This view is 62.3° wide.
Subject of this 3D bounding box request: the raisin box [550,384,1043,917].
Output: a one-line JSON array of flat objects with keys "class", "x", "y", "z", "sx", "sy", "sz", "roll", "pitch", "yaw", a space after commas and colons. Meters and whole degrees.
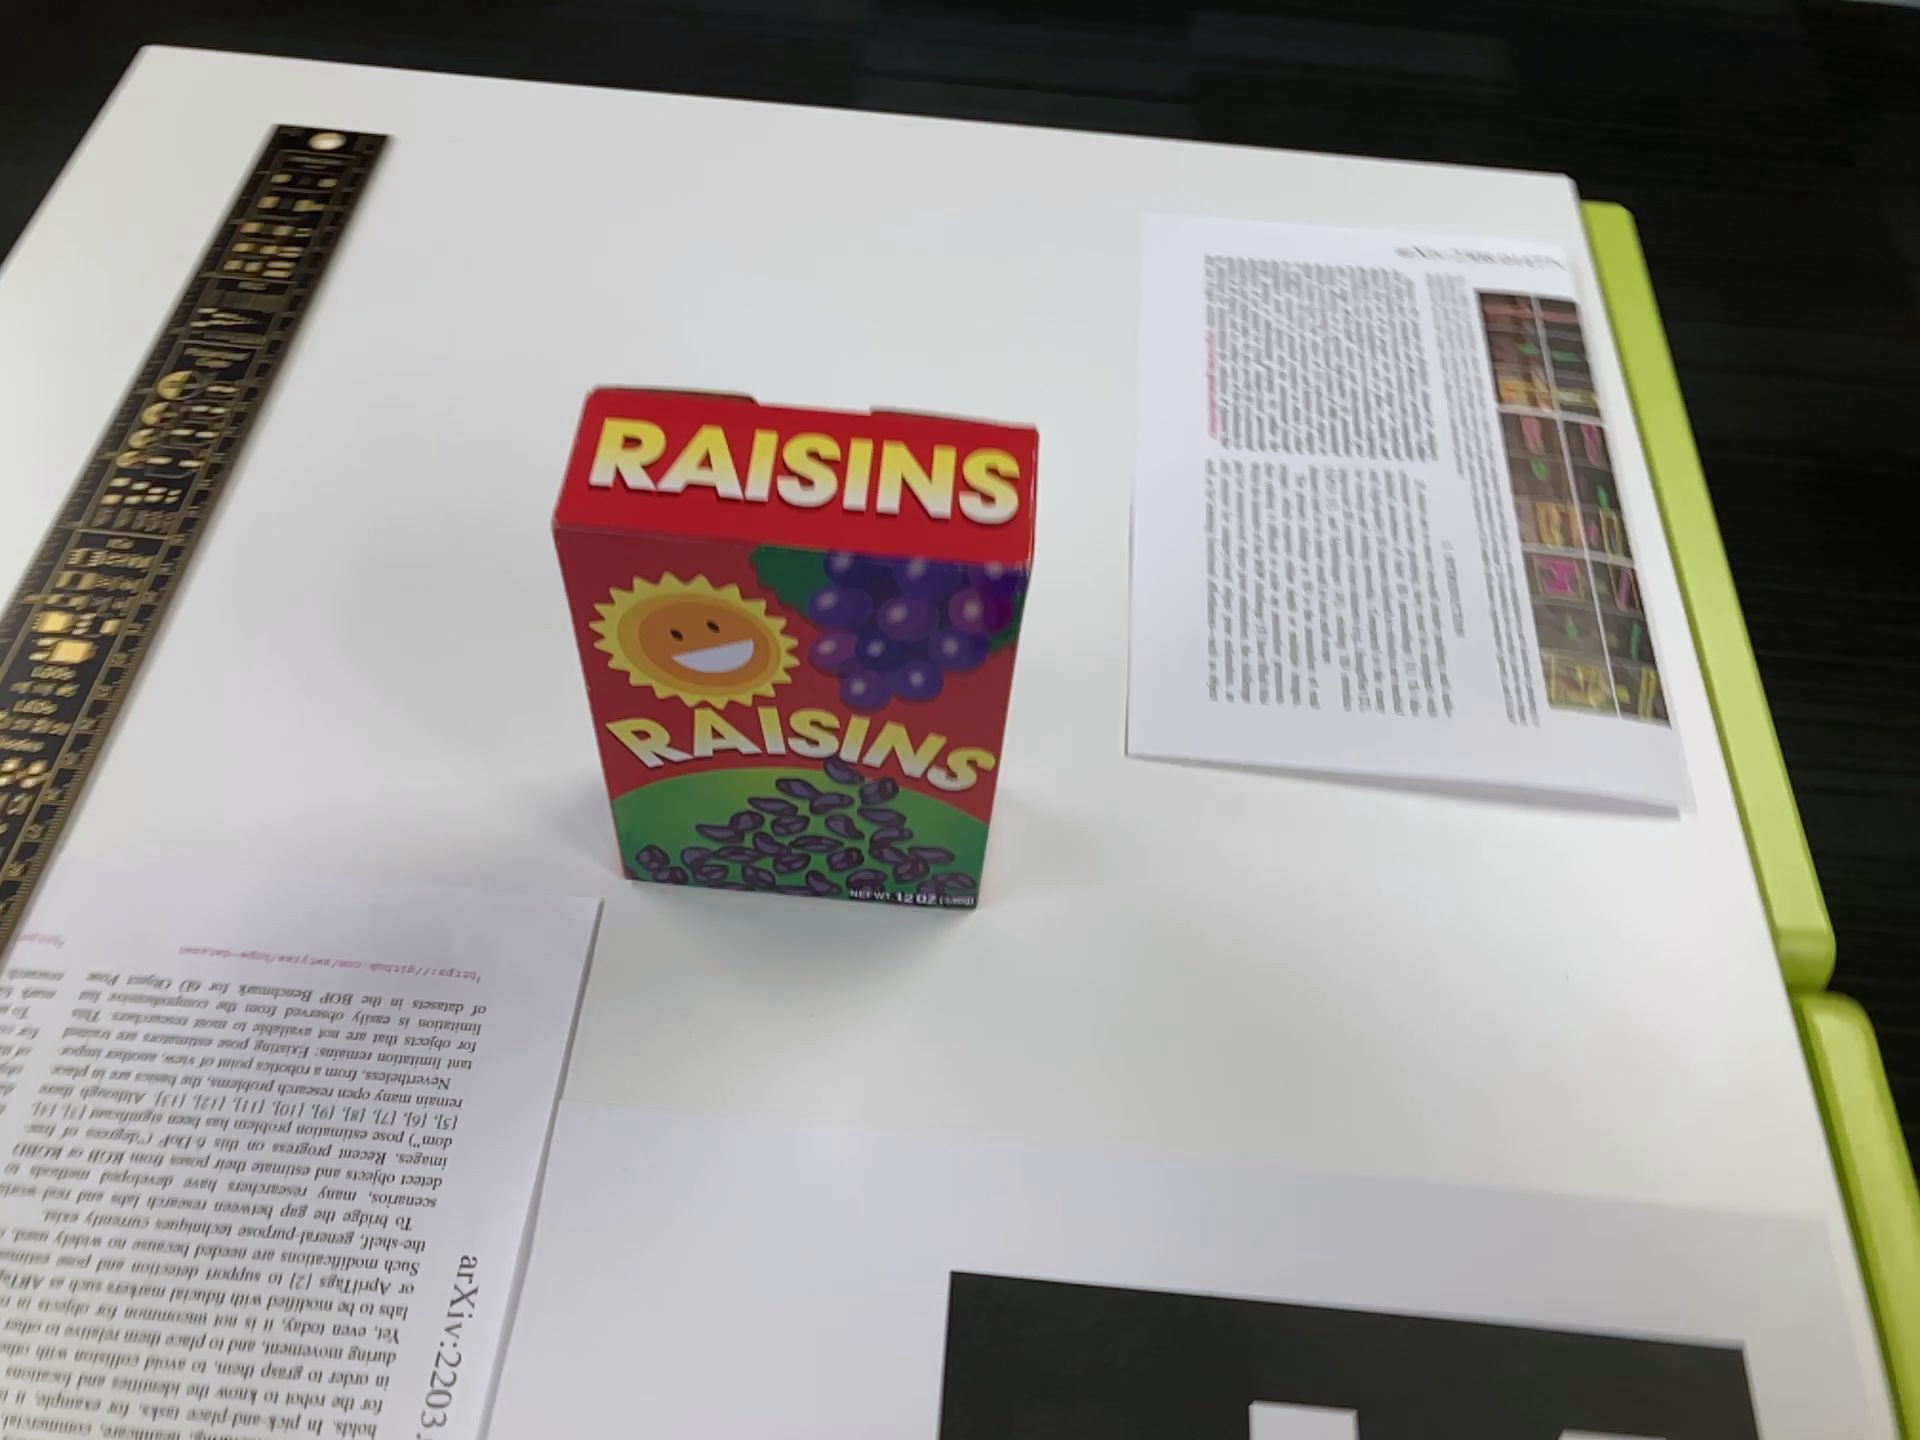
[{"class": "raisin box", "x": -0.031, "y": -0.009, "z": 0.330, "sx": 0.086, "sy": 0.123, "sz": 0.040, "roll": 6, "pitch": 54, "yaw": 0}]
